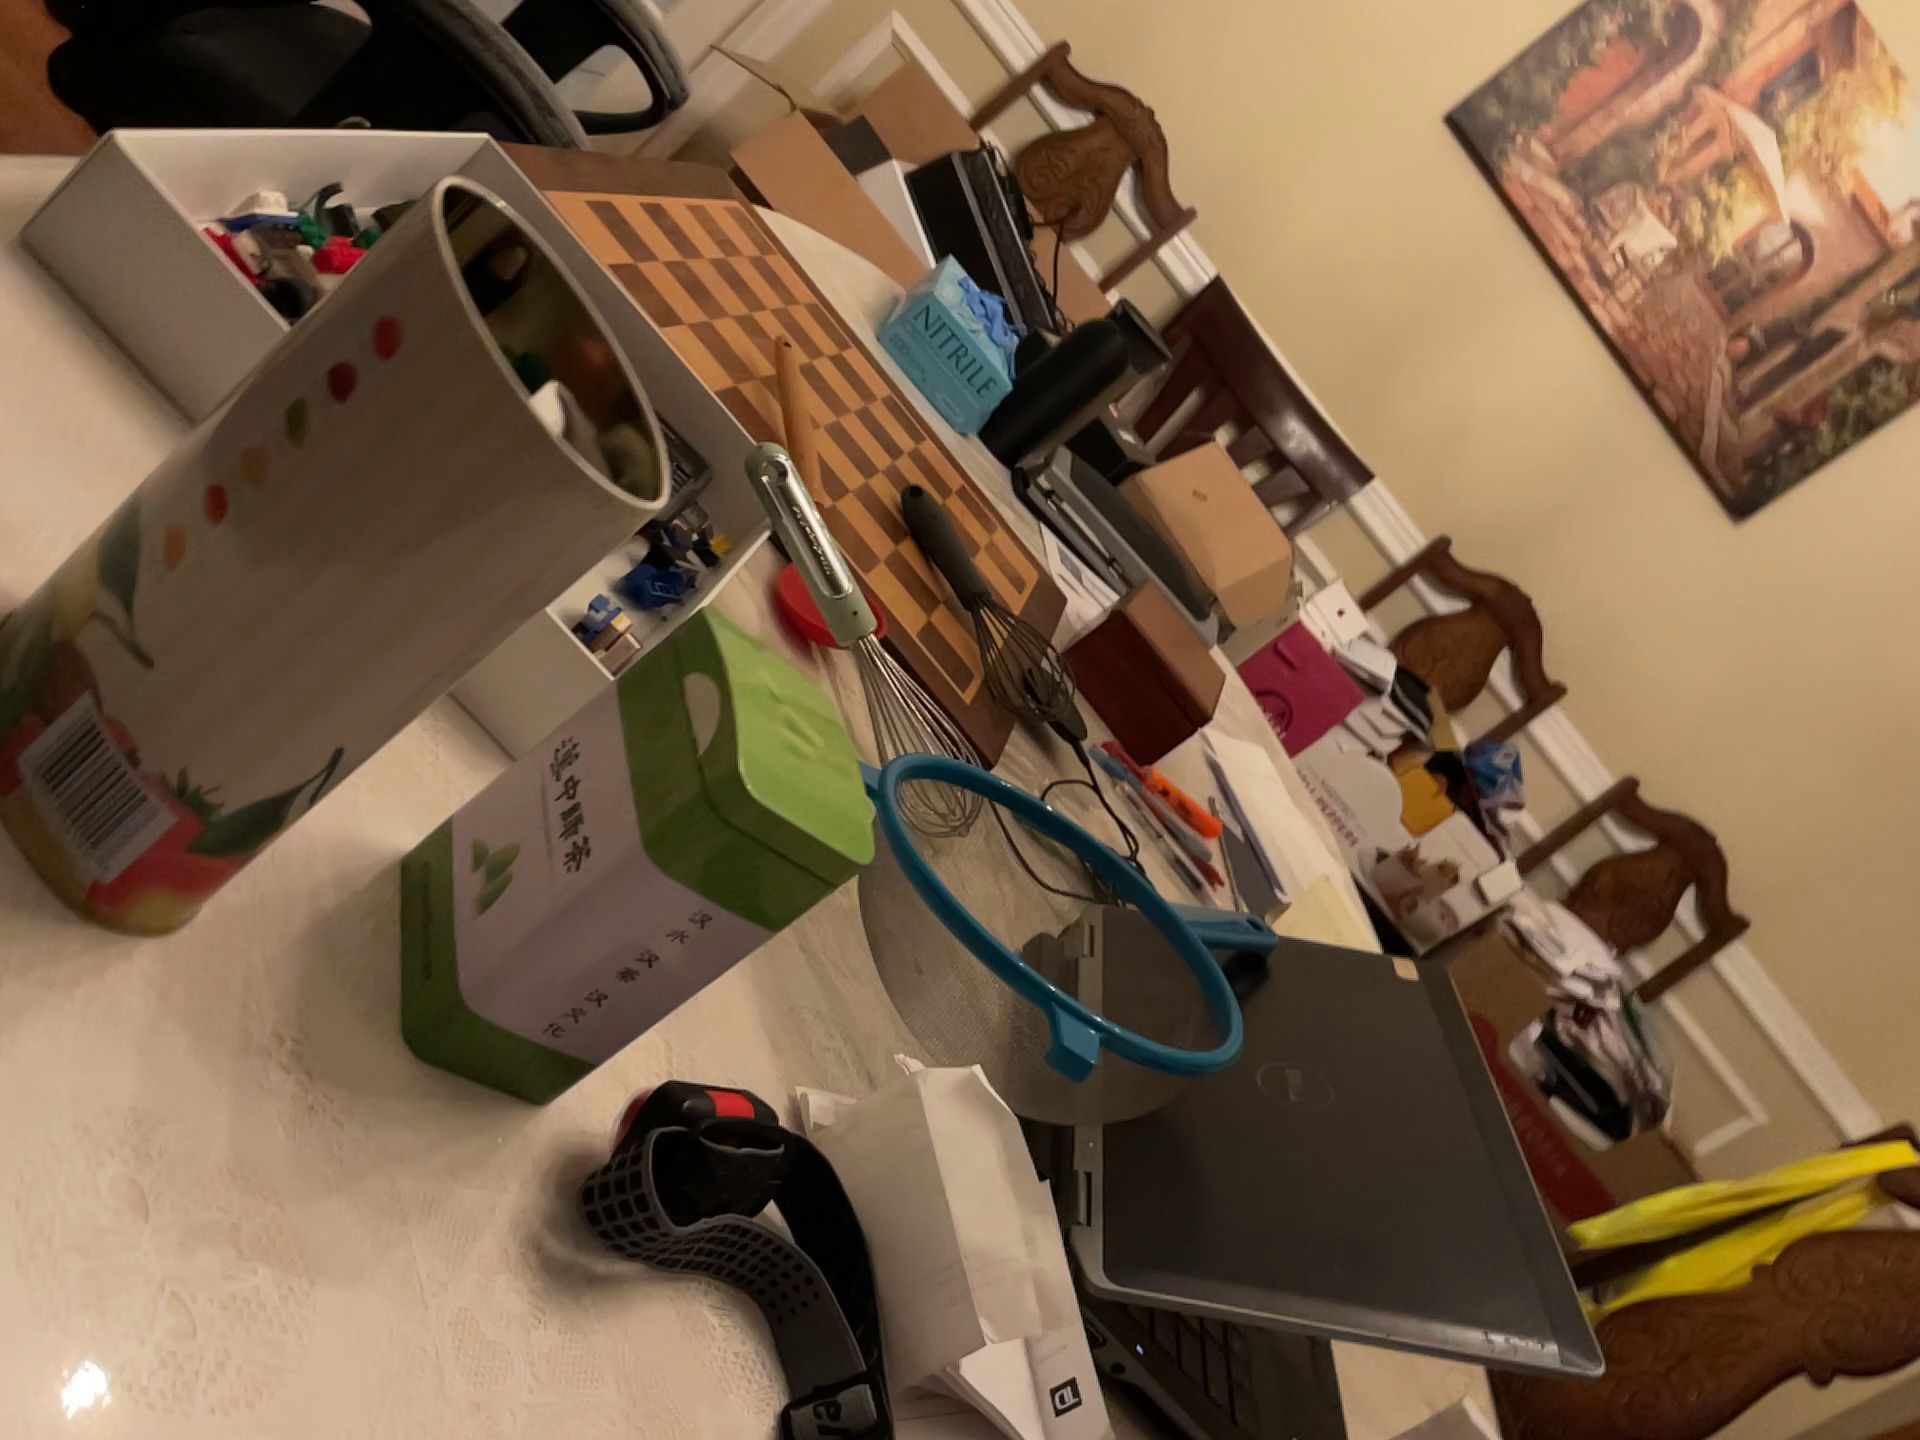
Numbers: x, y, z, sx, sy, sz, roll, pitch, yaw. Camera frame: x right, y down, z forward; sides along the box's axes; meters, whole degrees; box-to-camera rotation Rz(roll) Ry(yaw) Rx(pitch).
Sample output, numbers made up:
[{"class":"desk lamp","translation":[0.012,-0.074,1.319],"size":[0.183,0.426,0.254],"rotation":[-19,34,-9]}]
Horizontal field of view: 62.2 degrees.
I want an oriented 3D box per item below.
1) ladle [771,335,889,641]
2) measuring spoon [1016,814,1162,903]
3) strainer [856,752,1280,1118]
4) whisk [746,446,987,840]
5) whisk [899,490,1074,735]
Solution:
[{"class":"ladle","translation":[-0.099,-0.156,1.026],"size":[0.069,0.031,0.316],"rotation":[14,41,-29]},{"class":"measuring spoon","translation":[0.082,0.095,1.070],"size":[0.128,0.021,0.042],"rotation":[28,19,-28]},{"class":"strainer","translation":[0.061,0.127,0.803],"size":[0.211,0.095,0.340],"rotation":[48,18,32]},{"class":"whisk","translation":[-0.051,-0.037,0.869],"size":[0.246,0.057,0.059],"rotation":[62,-15,-15]},{"class":"whisk","translation":[0.013,-0.083,1.150],"size":[0.239,0.055,0.055],"rotation":[58,4,31]}]
